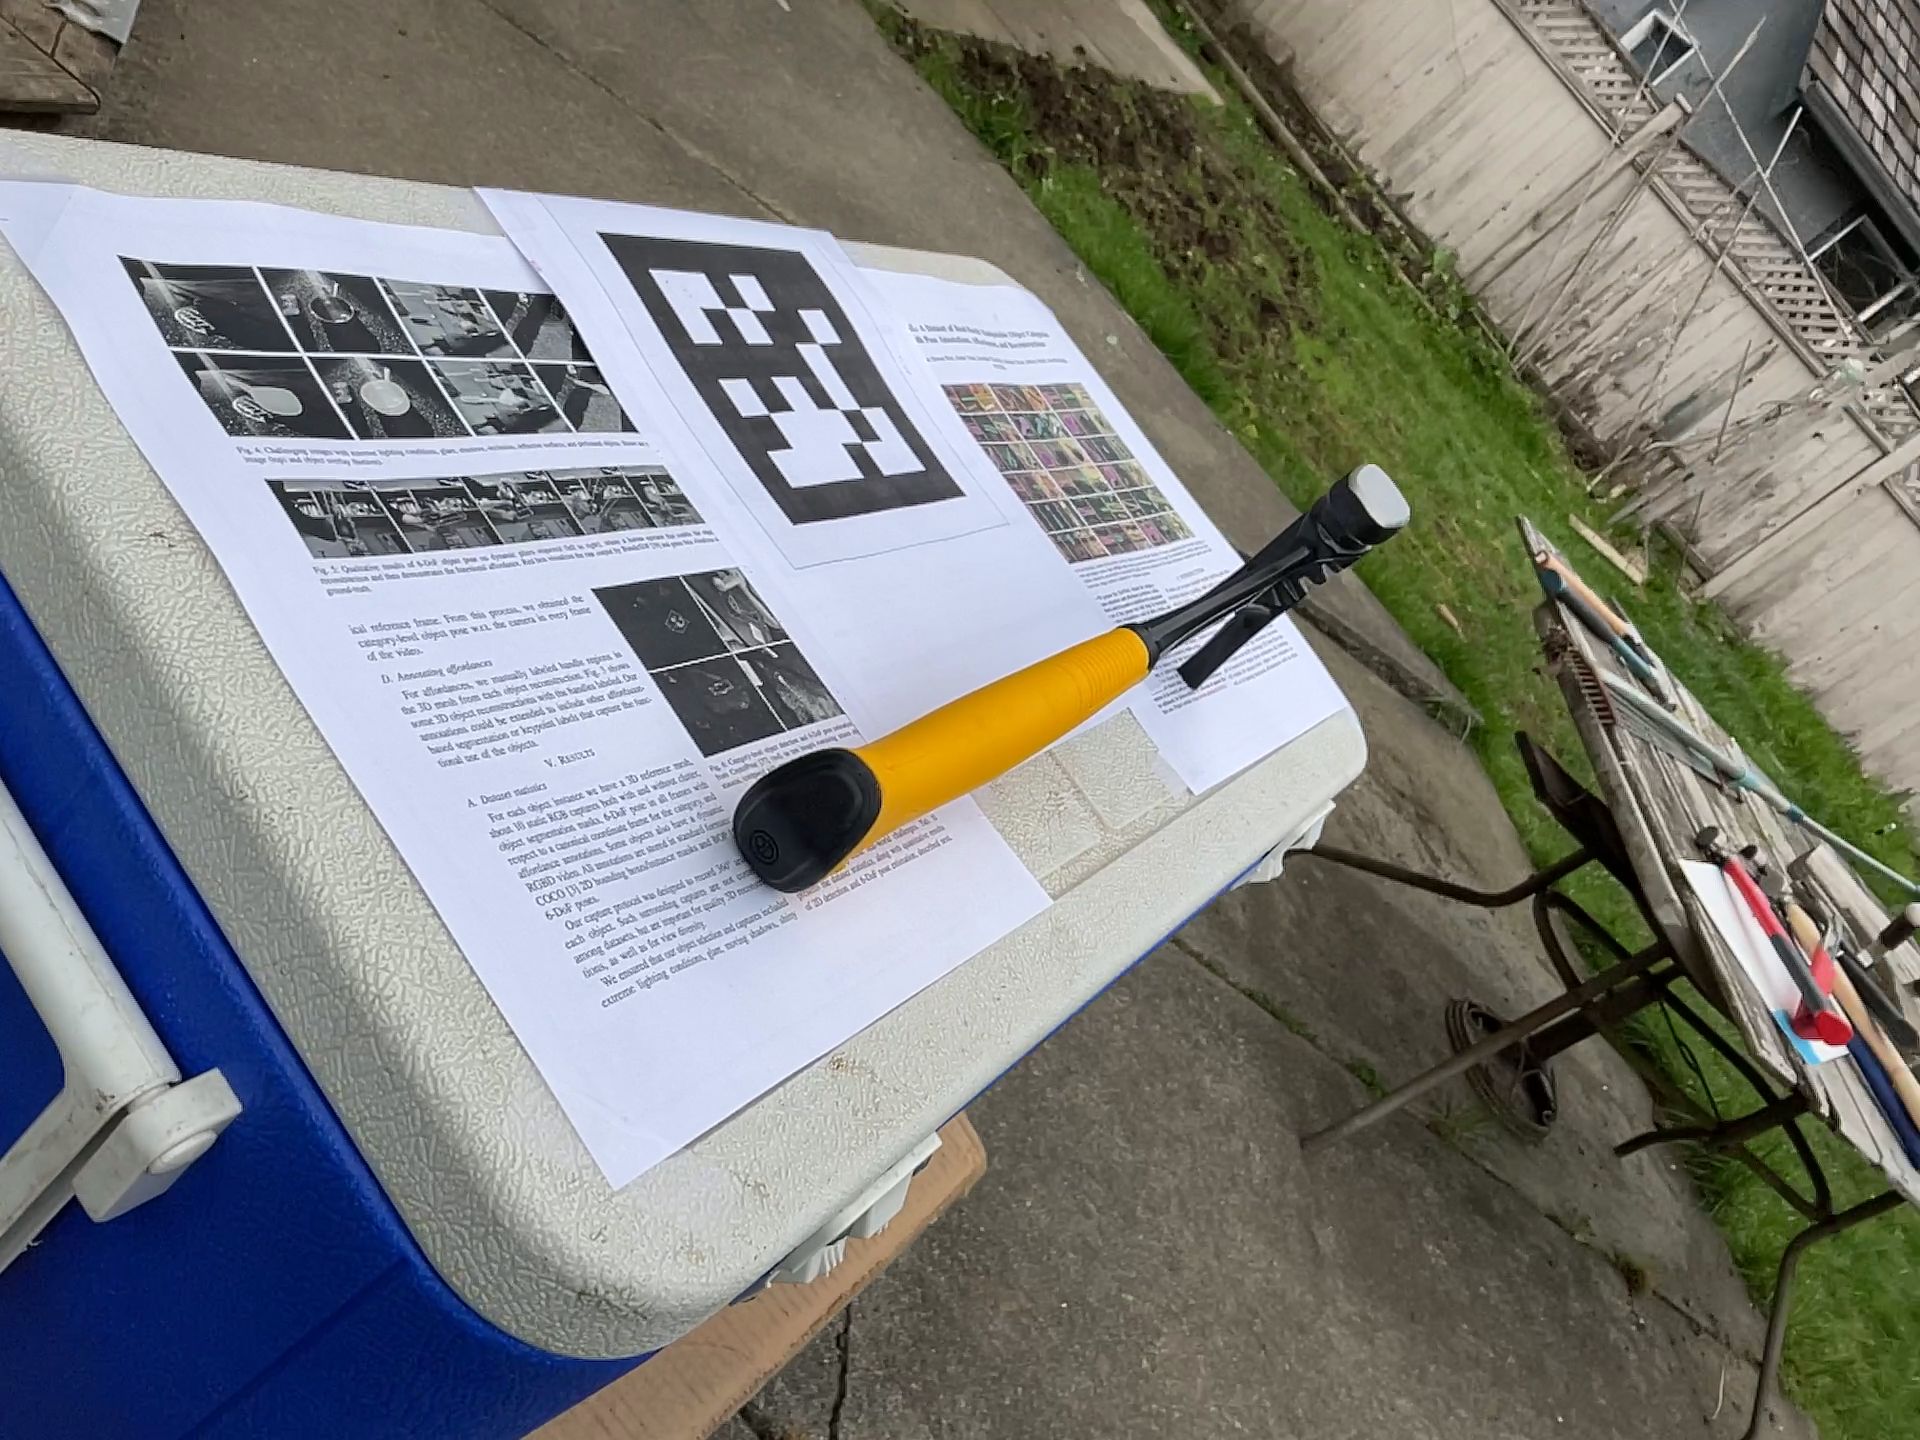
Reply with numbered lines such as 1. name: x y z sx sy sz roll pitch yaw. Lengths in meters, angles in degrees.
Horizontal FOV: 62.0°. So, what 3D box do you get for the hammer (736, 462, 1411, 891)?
1. hammer: 0.043 -0.014 0.550 0.034 0.127 0.337 54 39 7
